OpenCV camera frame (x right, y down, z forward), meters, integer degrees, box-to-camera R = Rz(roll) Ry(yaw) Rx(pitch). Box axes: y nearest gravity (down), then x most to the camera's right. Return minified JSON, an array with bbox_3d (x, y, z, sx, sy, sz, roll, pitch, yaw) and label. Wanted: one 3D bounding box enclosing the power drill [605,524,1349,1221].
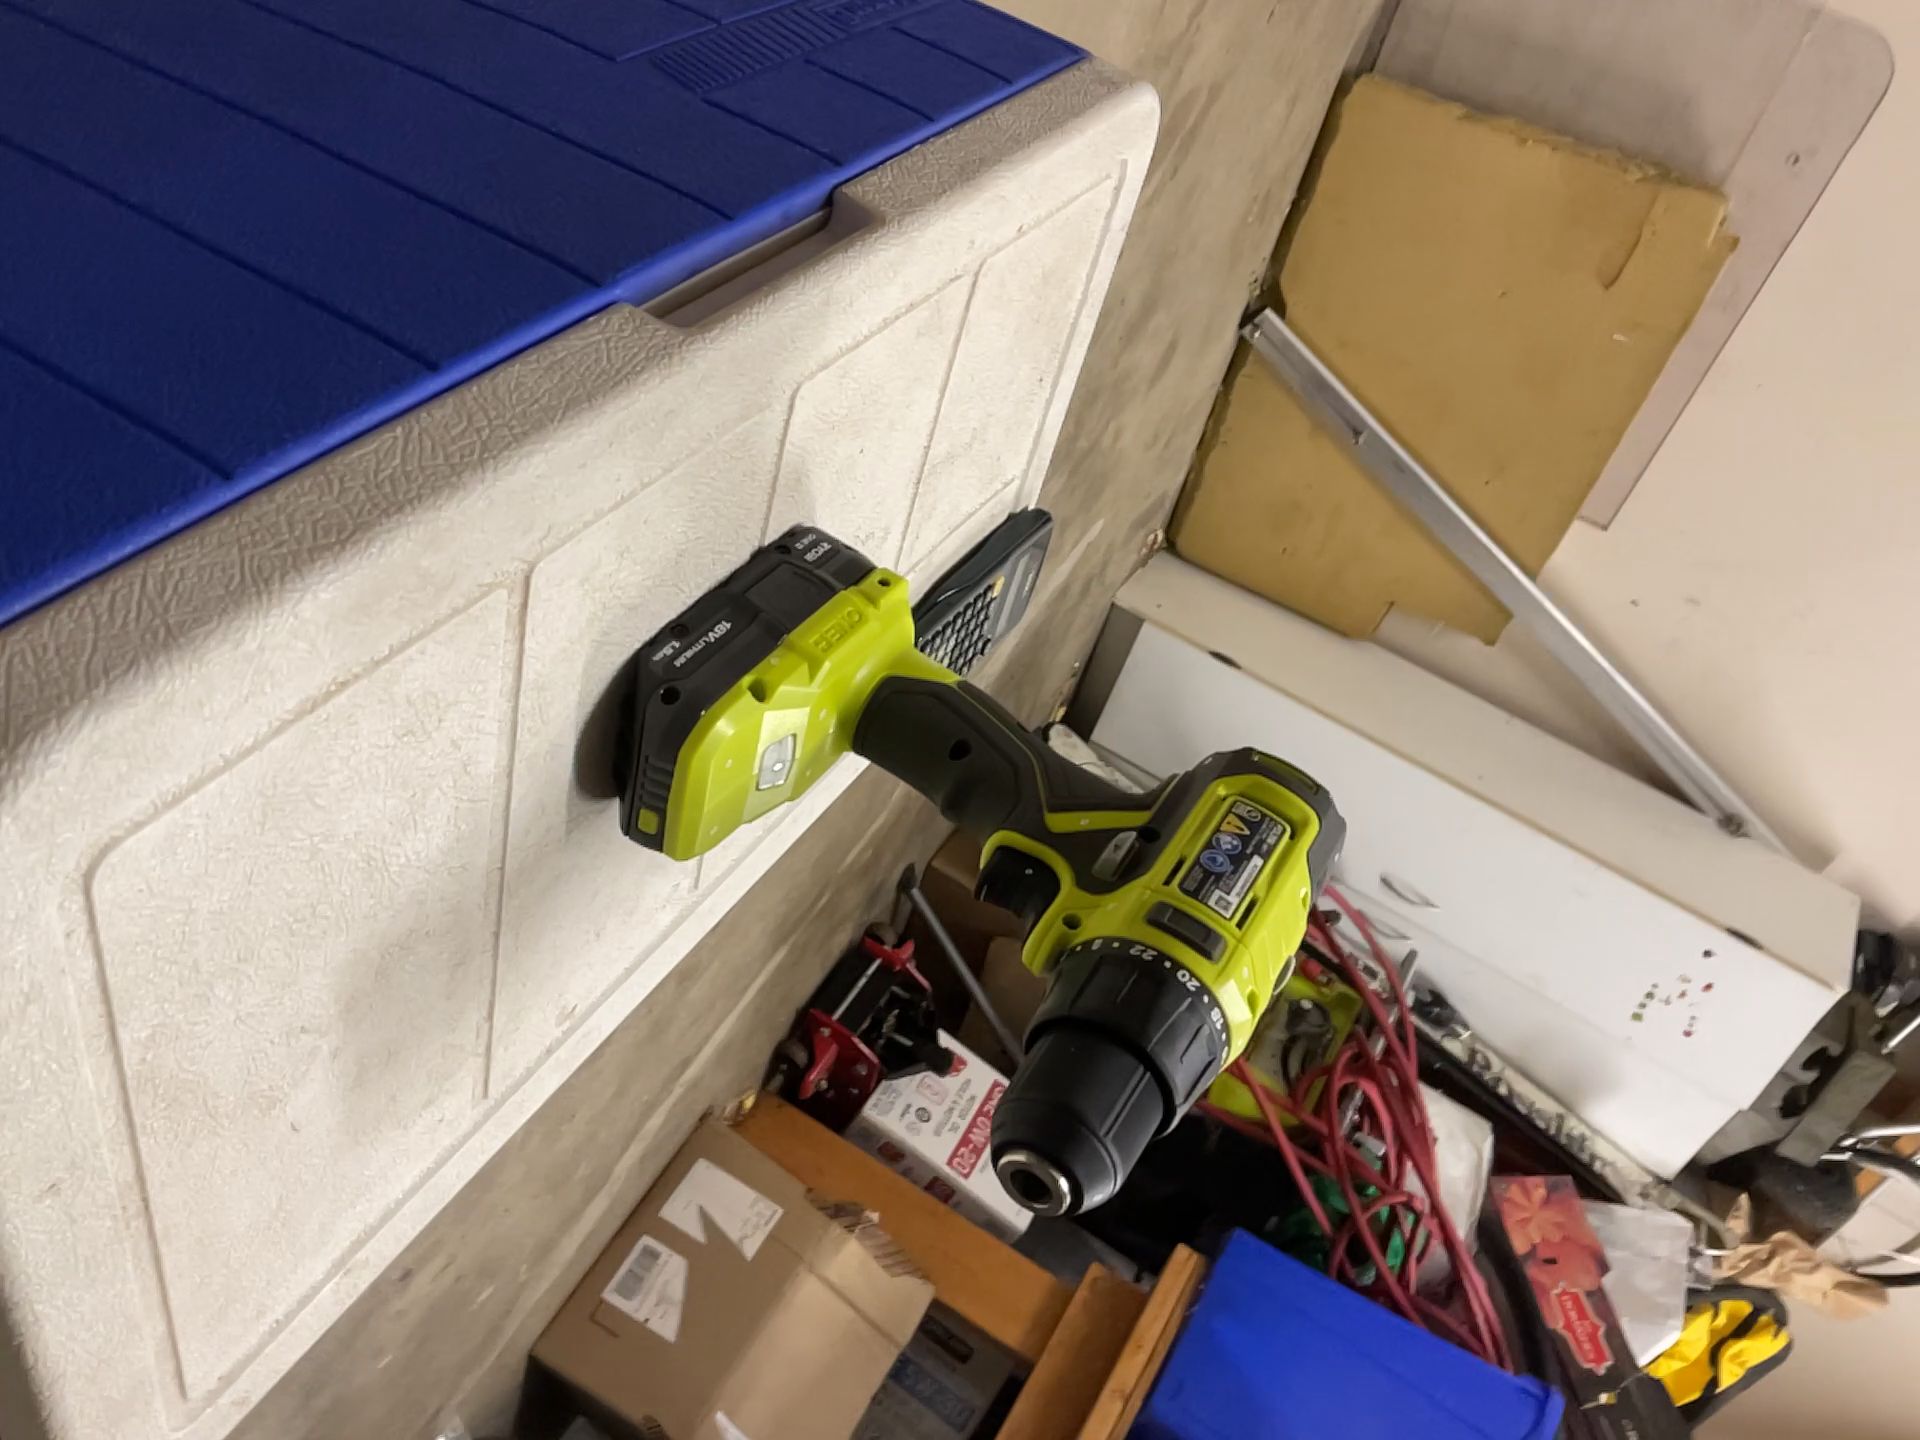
[{"bbox_3d":[-0.002,0.042,0.527,0.191,0.228,0.080,-46,161,-45],"label":"power drill"}]
